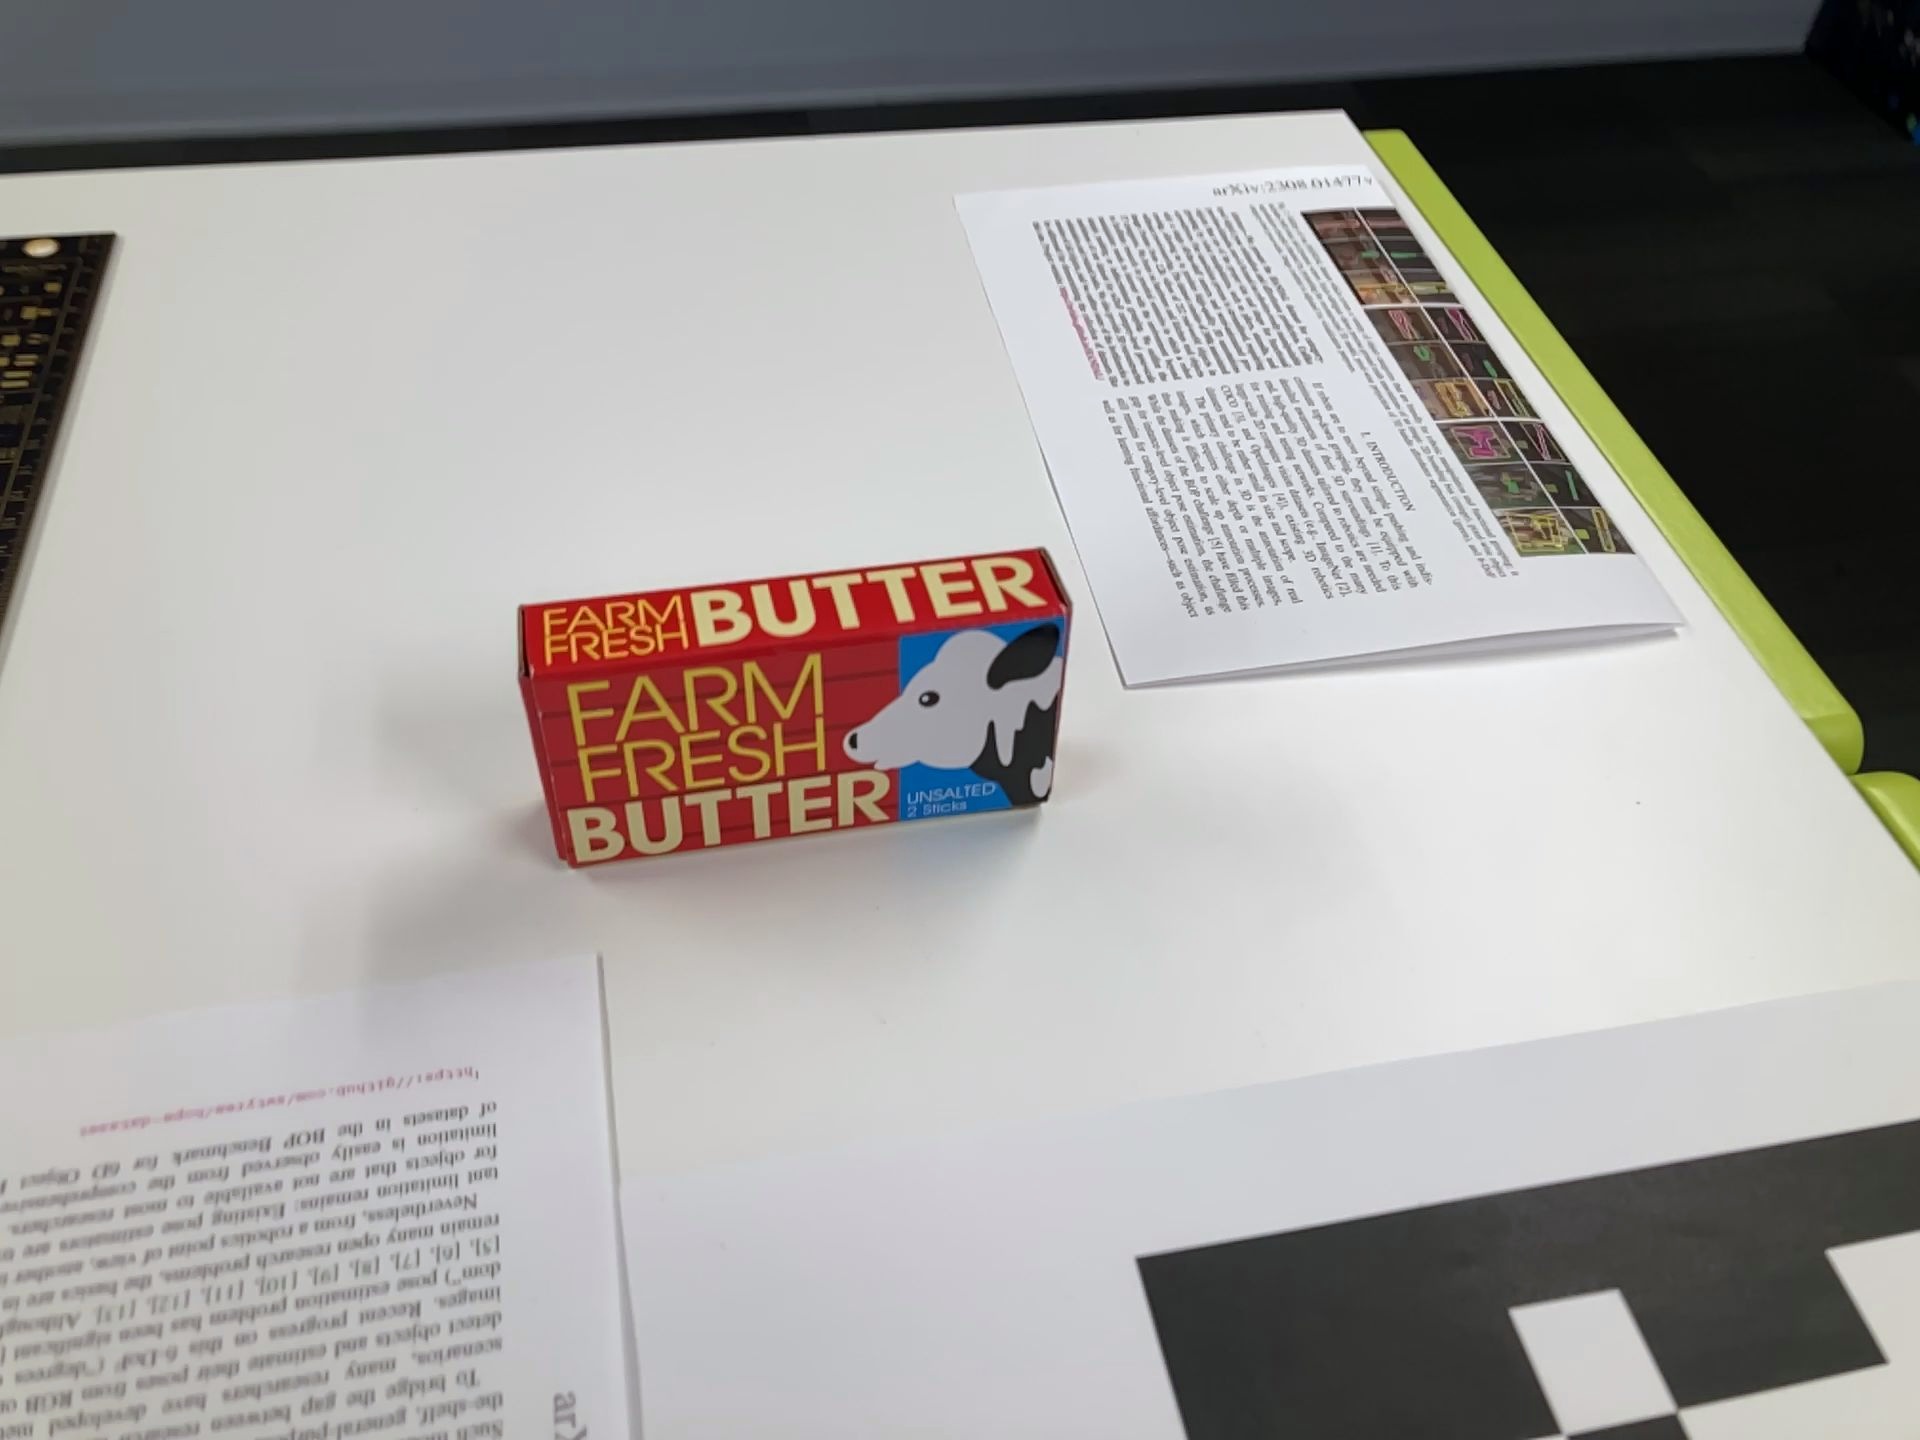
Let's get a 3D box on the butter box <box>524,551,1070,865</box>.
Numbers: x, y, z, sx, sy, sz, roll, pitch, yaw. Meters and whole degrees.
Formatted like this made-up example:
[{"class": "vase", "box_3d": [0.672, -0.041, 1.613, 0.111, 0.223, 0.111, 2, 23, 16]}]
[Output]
[{"class": "butter box", "box_3d": [-0.031, -0.003, 0.319, 0.103, 0.053, 0.024, -7, 43, -11]}]
